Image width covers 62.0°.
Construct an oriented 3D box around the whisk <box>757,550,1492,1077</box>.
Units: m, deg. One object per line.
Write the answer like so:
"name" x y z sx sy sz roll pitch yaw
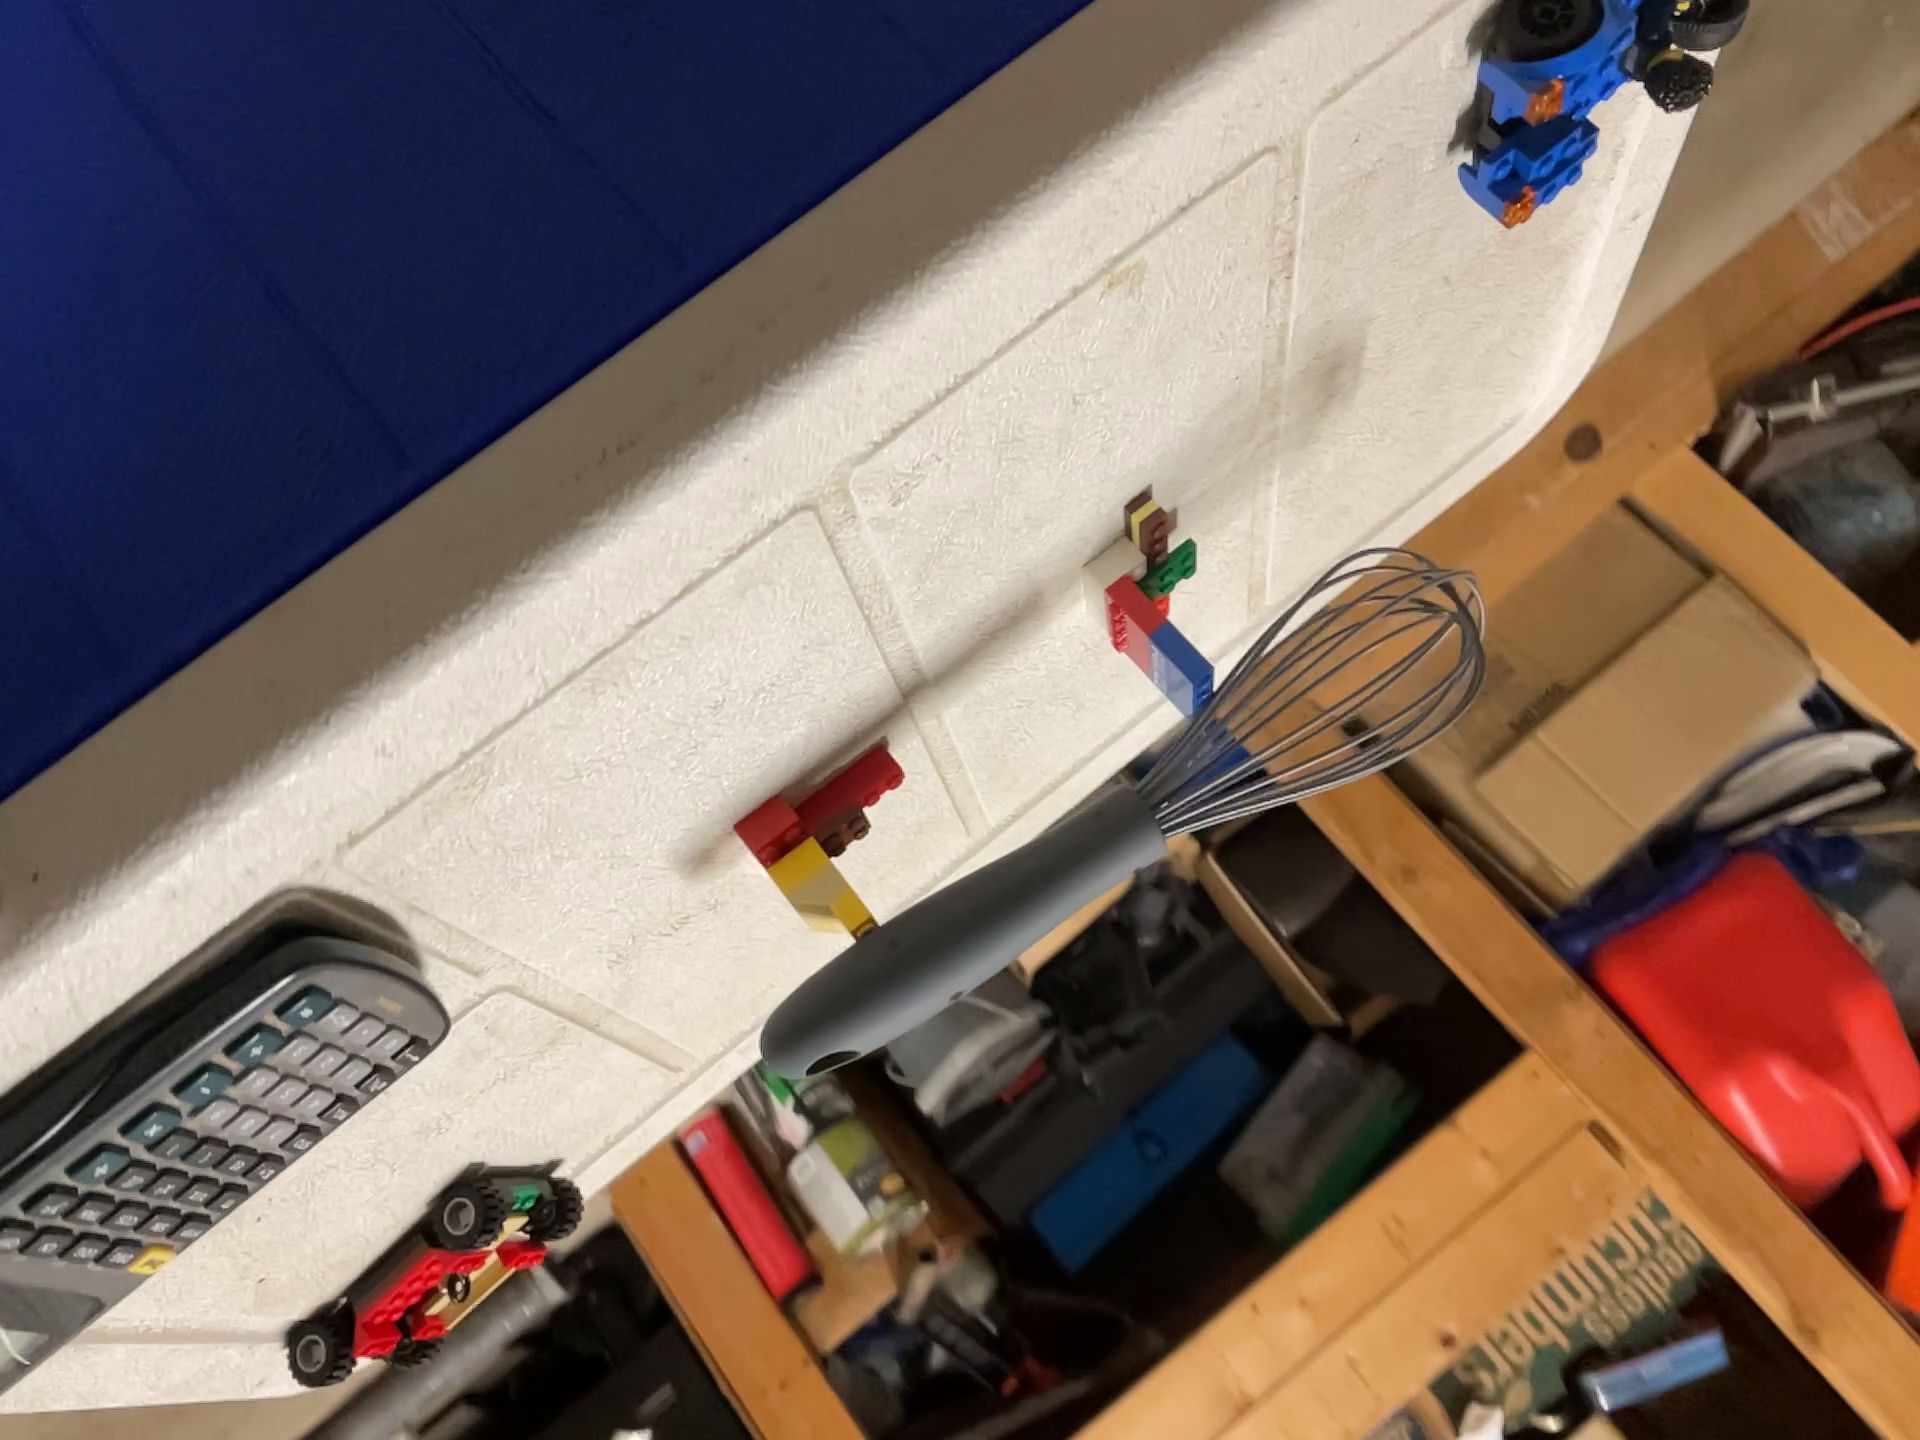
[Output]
"whisk" 0.047 0.026 0.437 0.239 0.055 0.055 -32 156 -8
